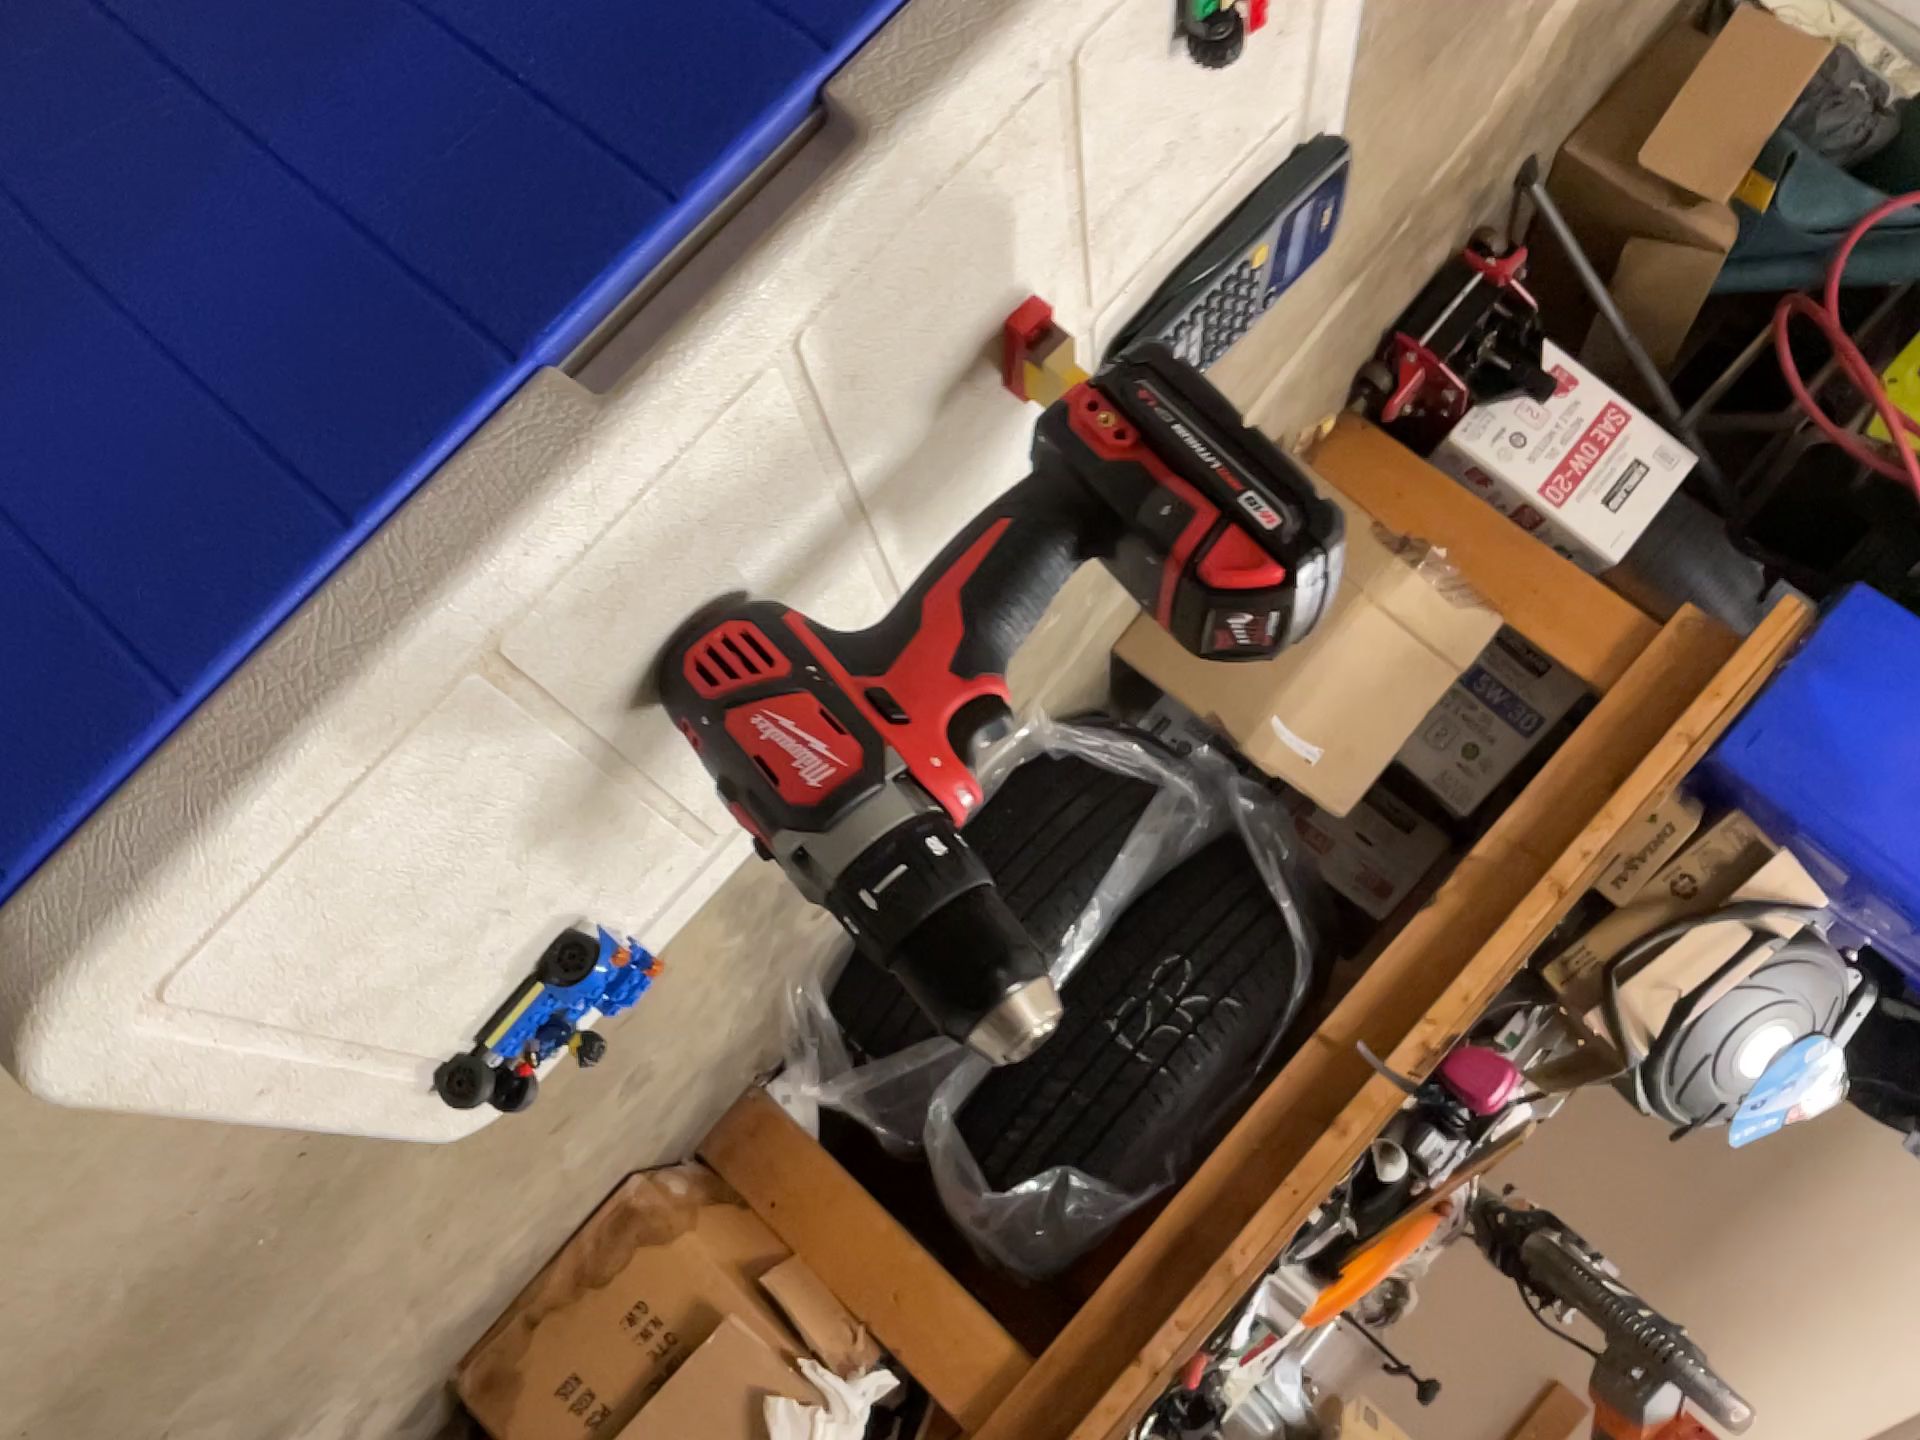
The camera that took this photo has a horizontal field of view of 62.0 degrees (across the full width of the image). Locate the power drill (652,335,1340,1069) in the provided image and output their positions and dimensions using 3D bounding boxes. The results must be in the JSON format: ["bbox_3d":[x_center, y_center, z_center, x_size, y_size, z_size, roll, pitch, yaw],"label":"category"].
[{"bbox_3d":[0.028,-0.009,0.563,0.227,0.188,0.080,-37,160,-11],"label":"power drill"}]
